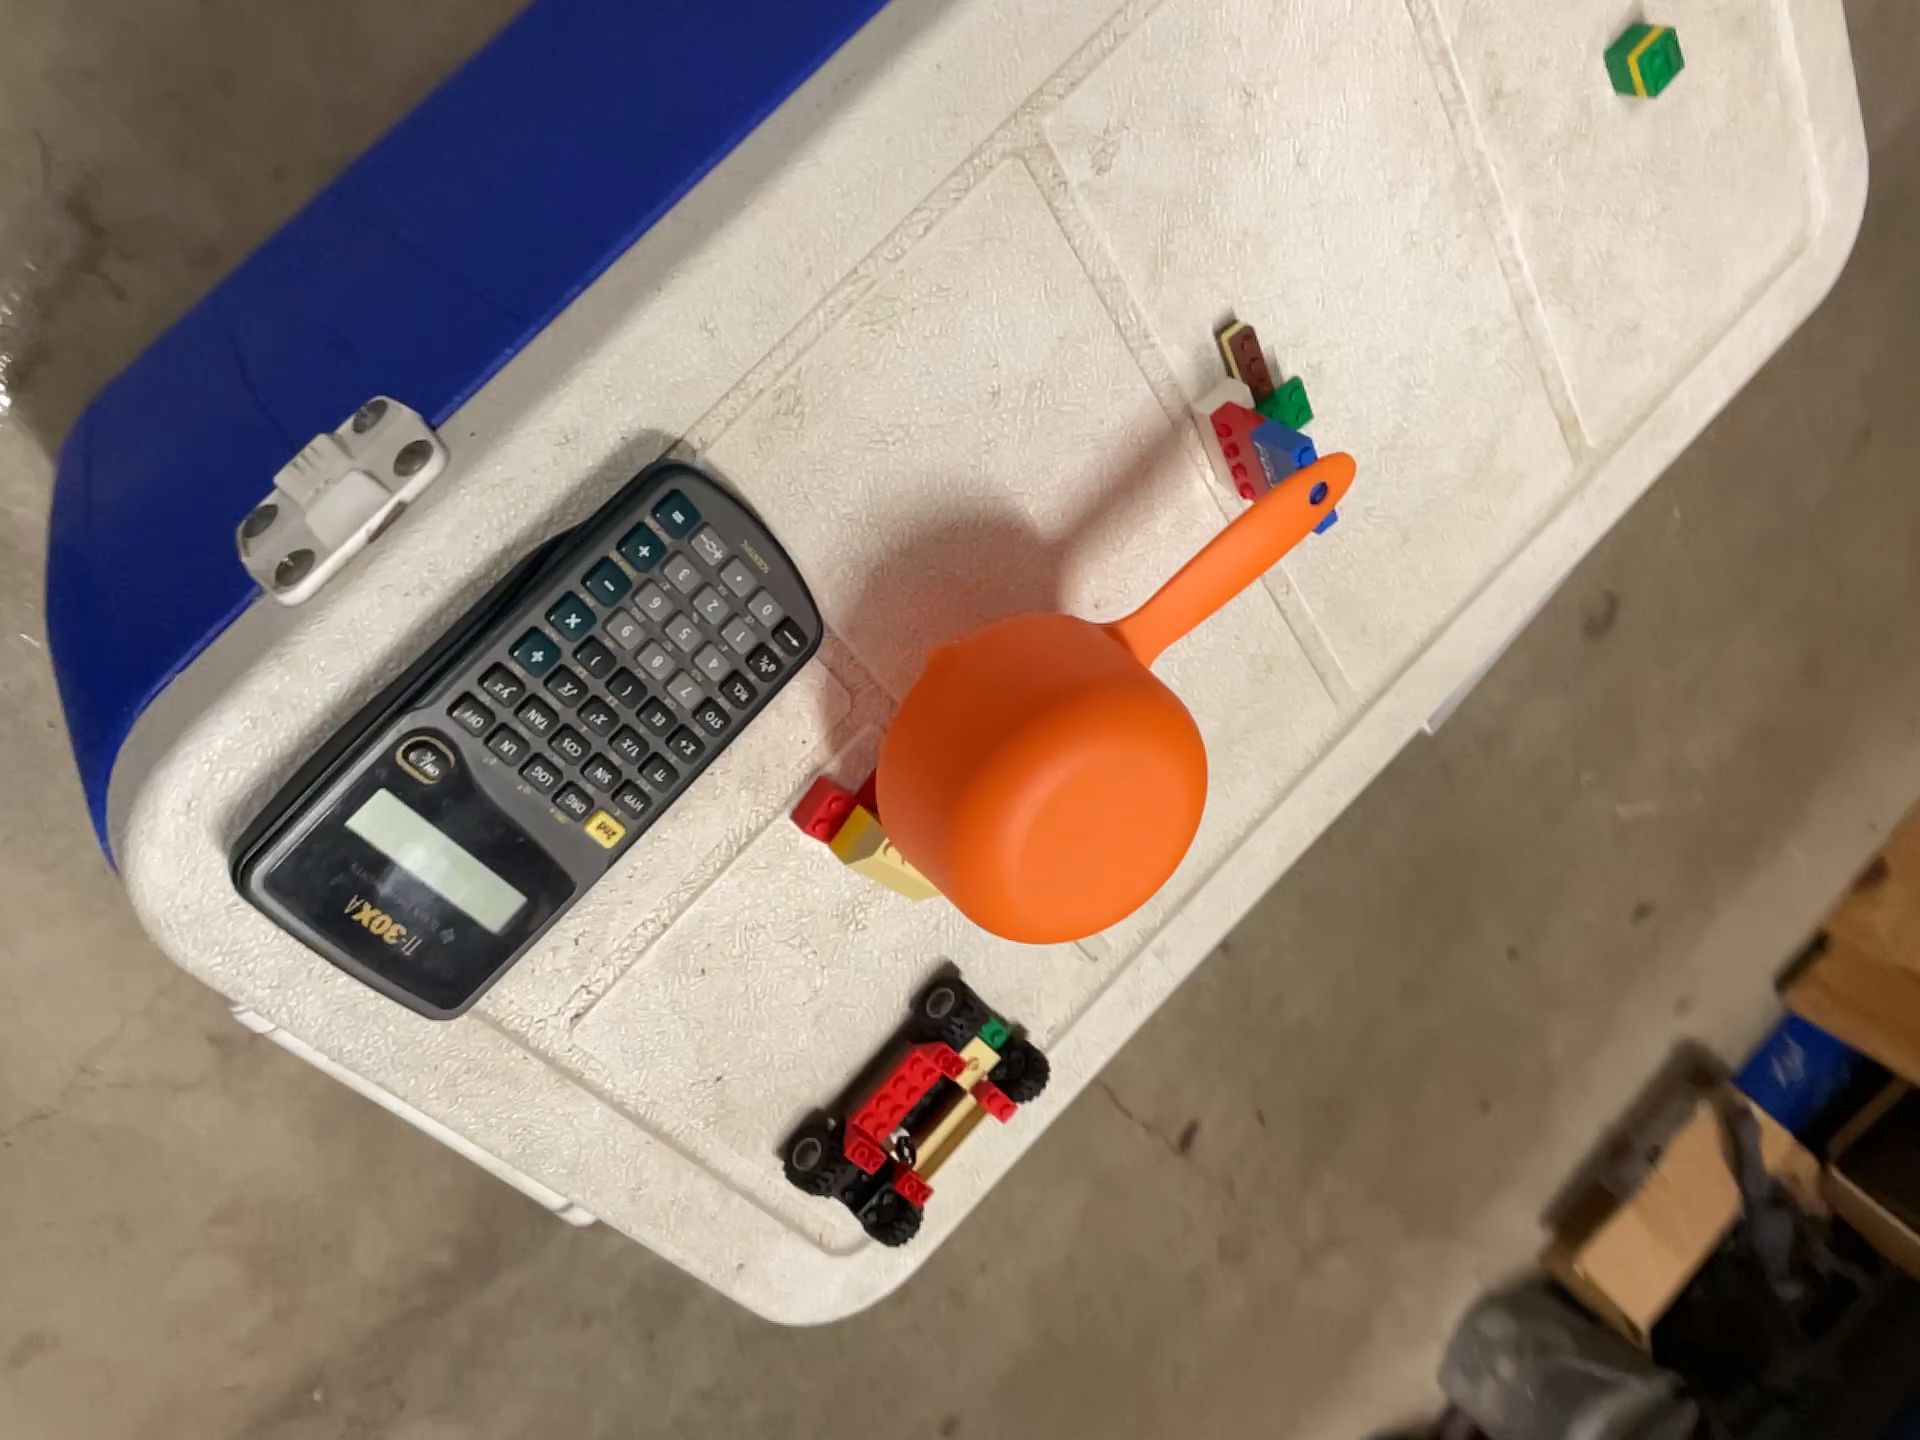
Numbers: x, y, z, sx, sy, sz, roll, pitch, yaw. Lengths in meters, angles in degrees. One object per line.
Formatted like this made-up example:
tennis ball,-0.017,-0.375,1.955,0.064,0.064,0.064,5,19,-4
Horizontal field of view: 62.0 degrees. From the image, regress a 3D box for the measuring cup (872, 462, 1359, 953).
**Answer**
measuring cup,0.058,-0.007,0.441,0.173,0.052,0.095,-40,131,-3
